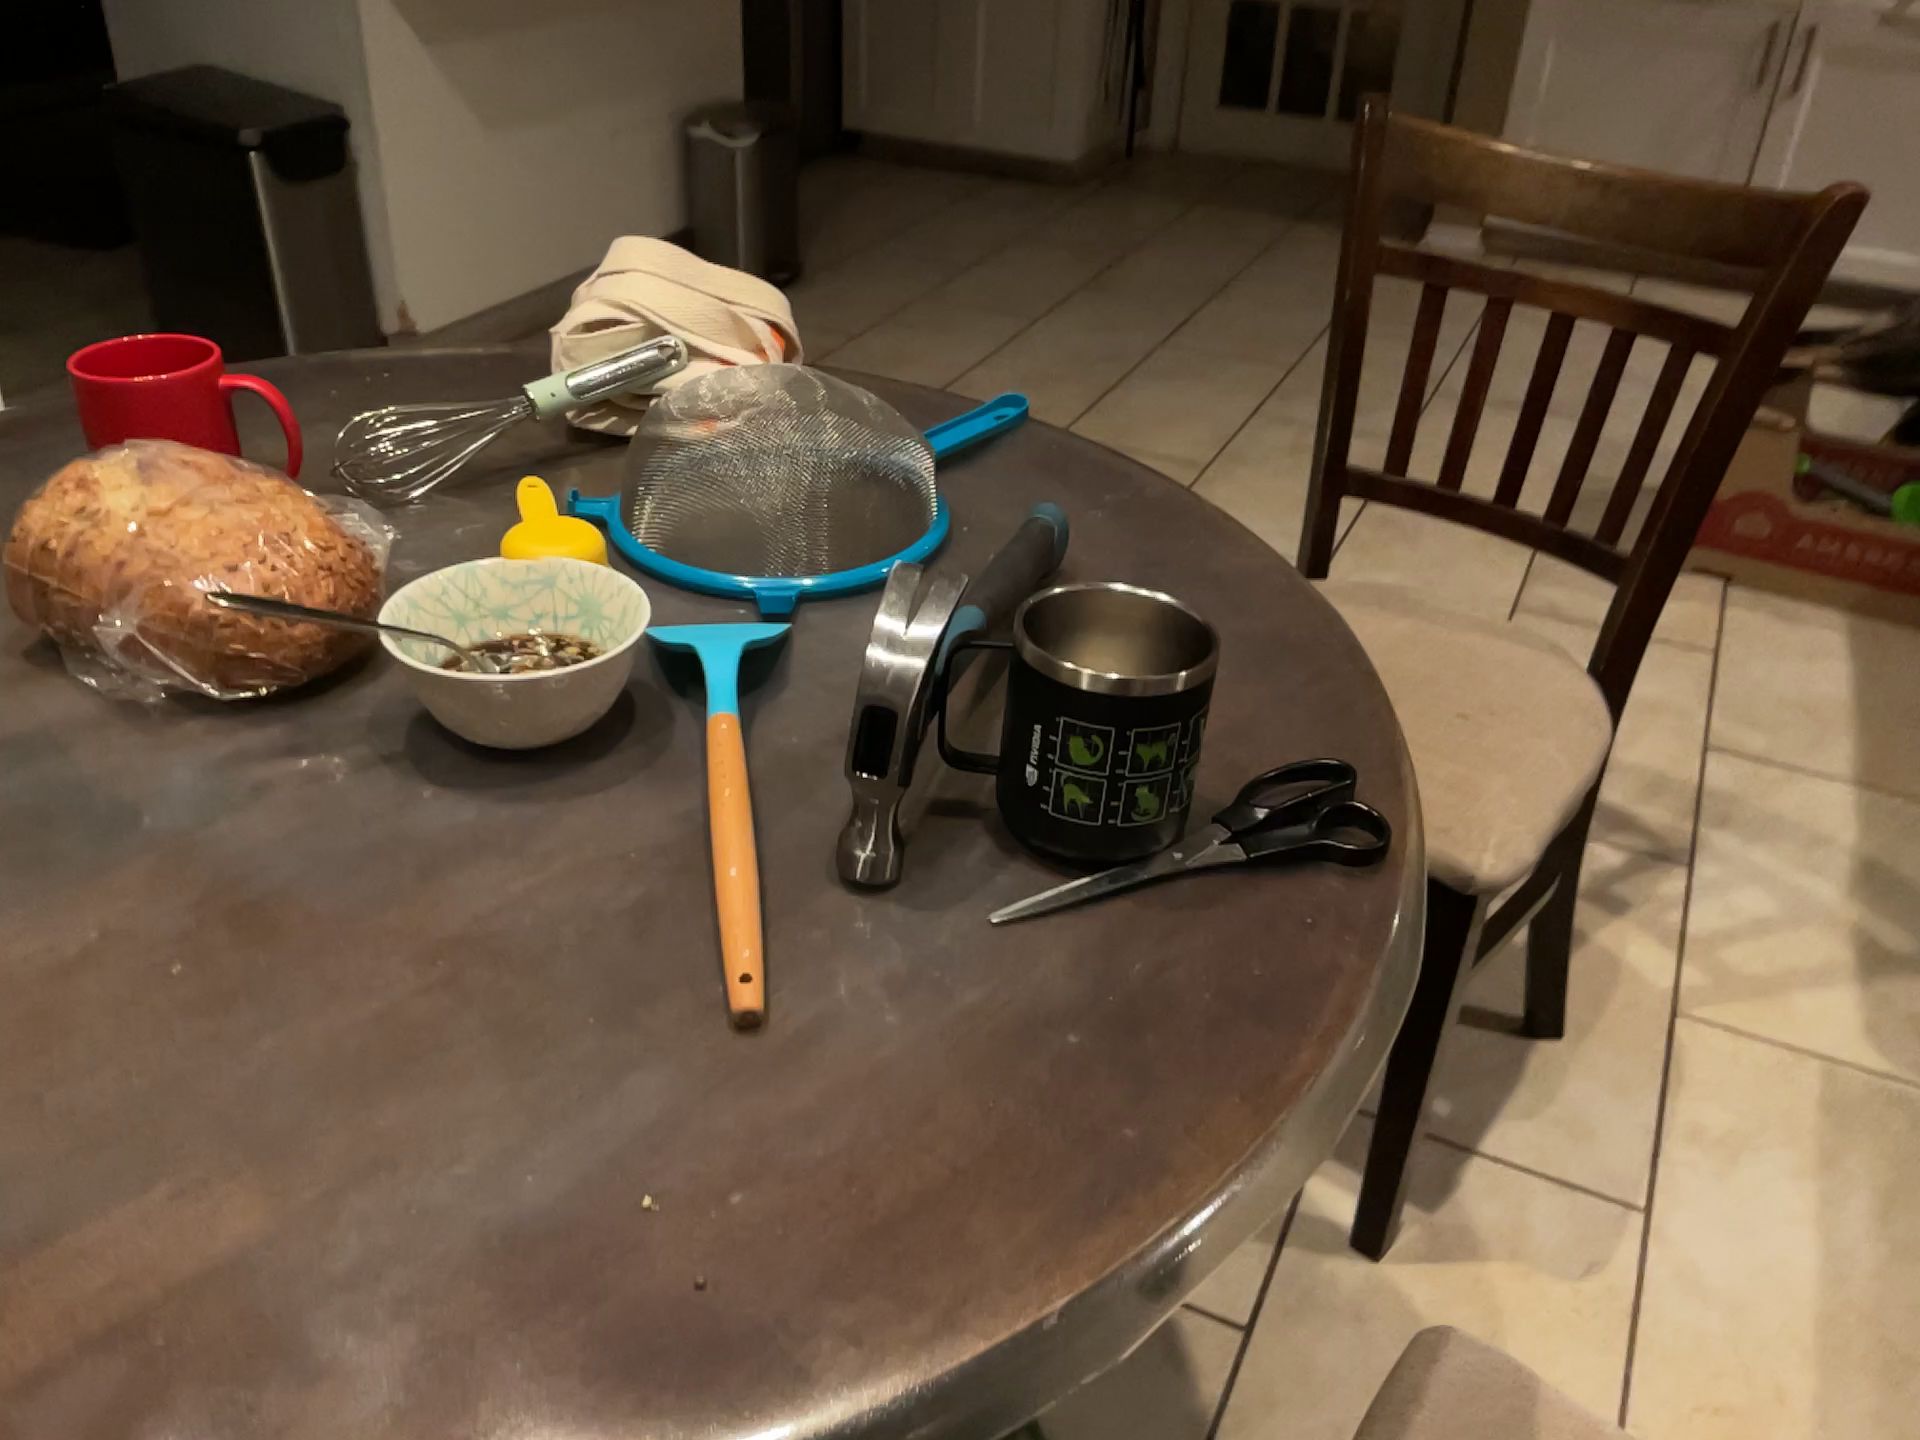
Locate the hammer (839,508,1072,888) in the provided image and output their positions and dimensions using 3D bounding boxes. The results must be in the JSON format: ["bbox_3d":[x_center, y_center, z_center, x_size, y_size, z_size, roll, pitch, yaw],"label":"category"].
[{"bbox_3d":[0.009,-0.046,0.805,0.033,0.128,0.331,13,25,11],"label":"hammer"}]

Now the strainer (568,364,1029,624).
[{"bbox_3d":[-0.068,-0.186,1.011,0.211,0.095,0.340,28,44,32],"label":"strainer"}]

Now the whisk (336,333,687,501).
[{"bbox_3d":[-0.283,-0.203,1.032,0.246,0.057,0.059,-29,13,-28],"label":"whisk"}]

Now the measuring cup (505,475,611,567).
[{"bbox_3d":[-0.246,-0.121,0.949,0.062,0.029,0.157,-8,35,-18],"label":"measuring cup"}]

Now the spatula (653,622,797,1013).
[{"bbox_3d":[-0.106,0.023,0.746,0.082,0.044,0.318,-2,37,-10],"label":"spatula"}]
